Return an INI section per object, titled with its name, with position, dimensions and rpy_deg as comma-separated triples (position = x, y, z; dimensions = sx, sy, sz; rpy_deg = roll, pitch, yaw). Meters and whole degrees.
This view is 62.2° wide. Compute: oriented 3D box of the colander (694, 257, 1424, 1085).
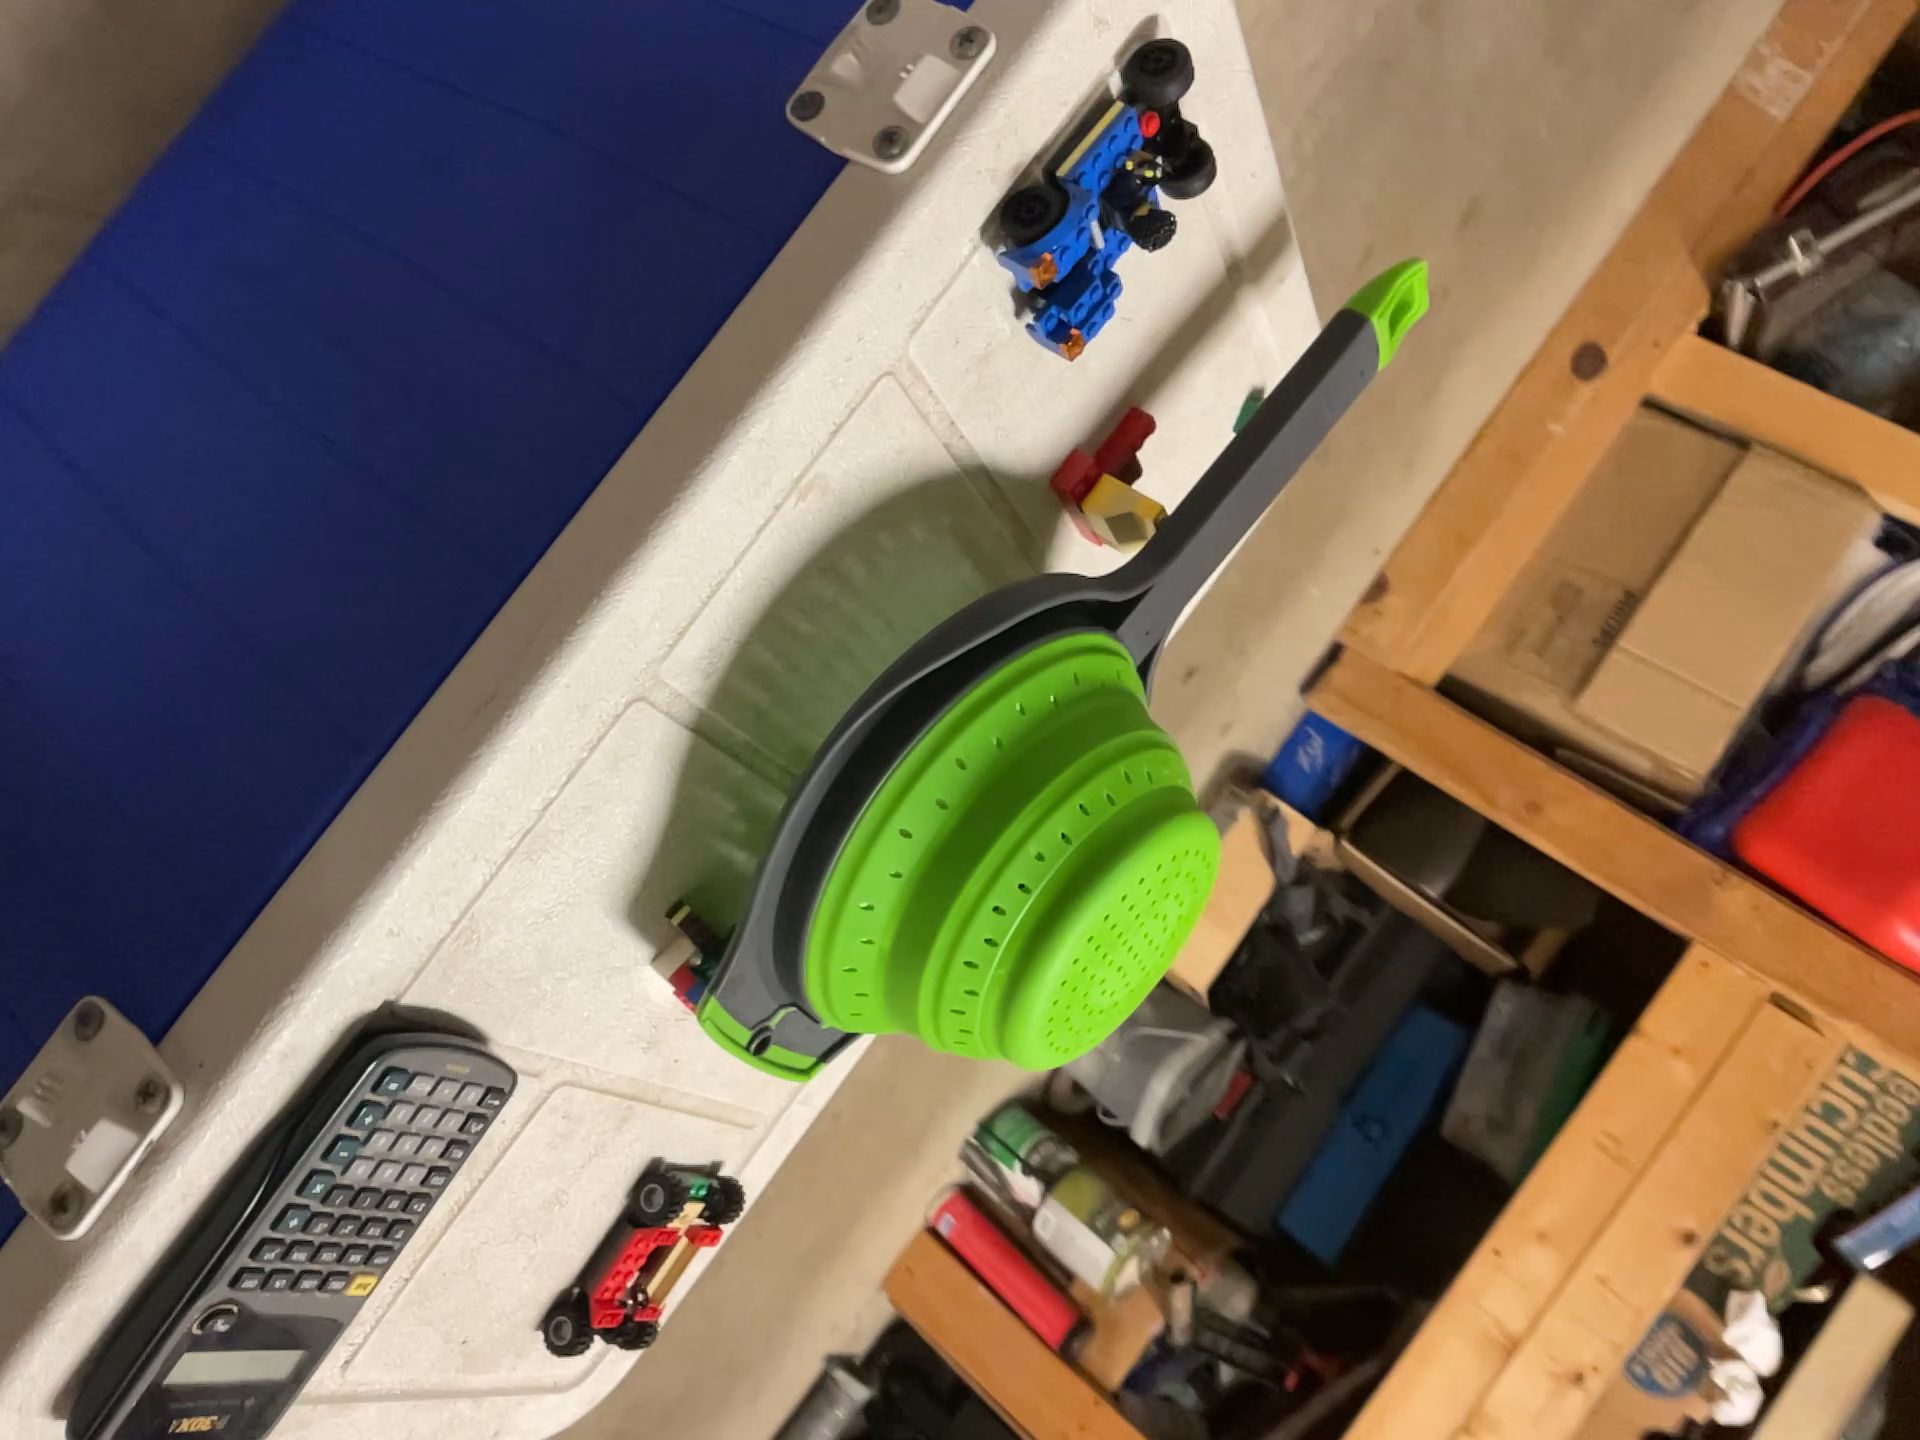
[colander]
position = 0.077, -0.006, 0.582
dimensions = 0.397, 0.095, 0.204
rpy_deg = -50, 152, -8
